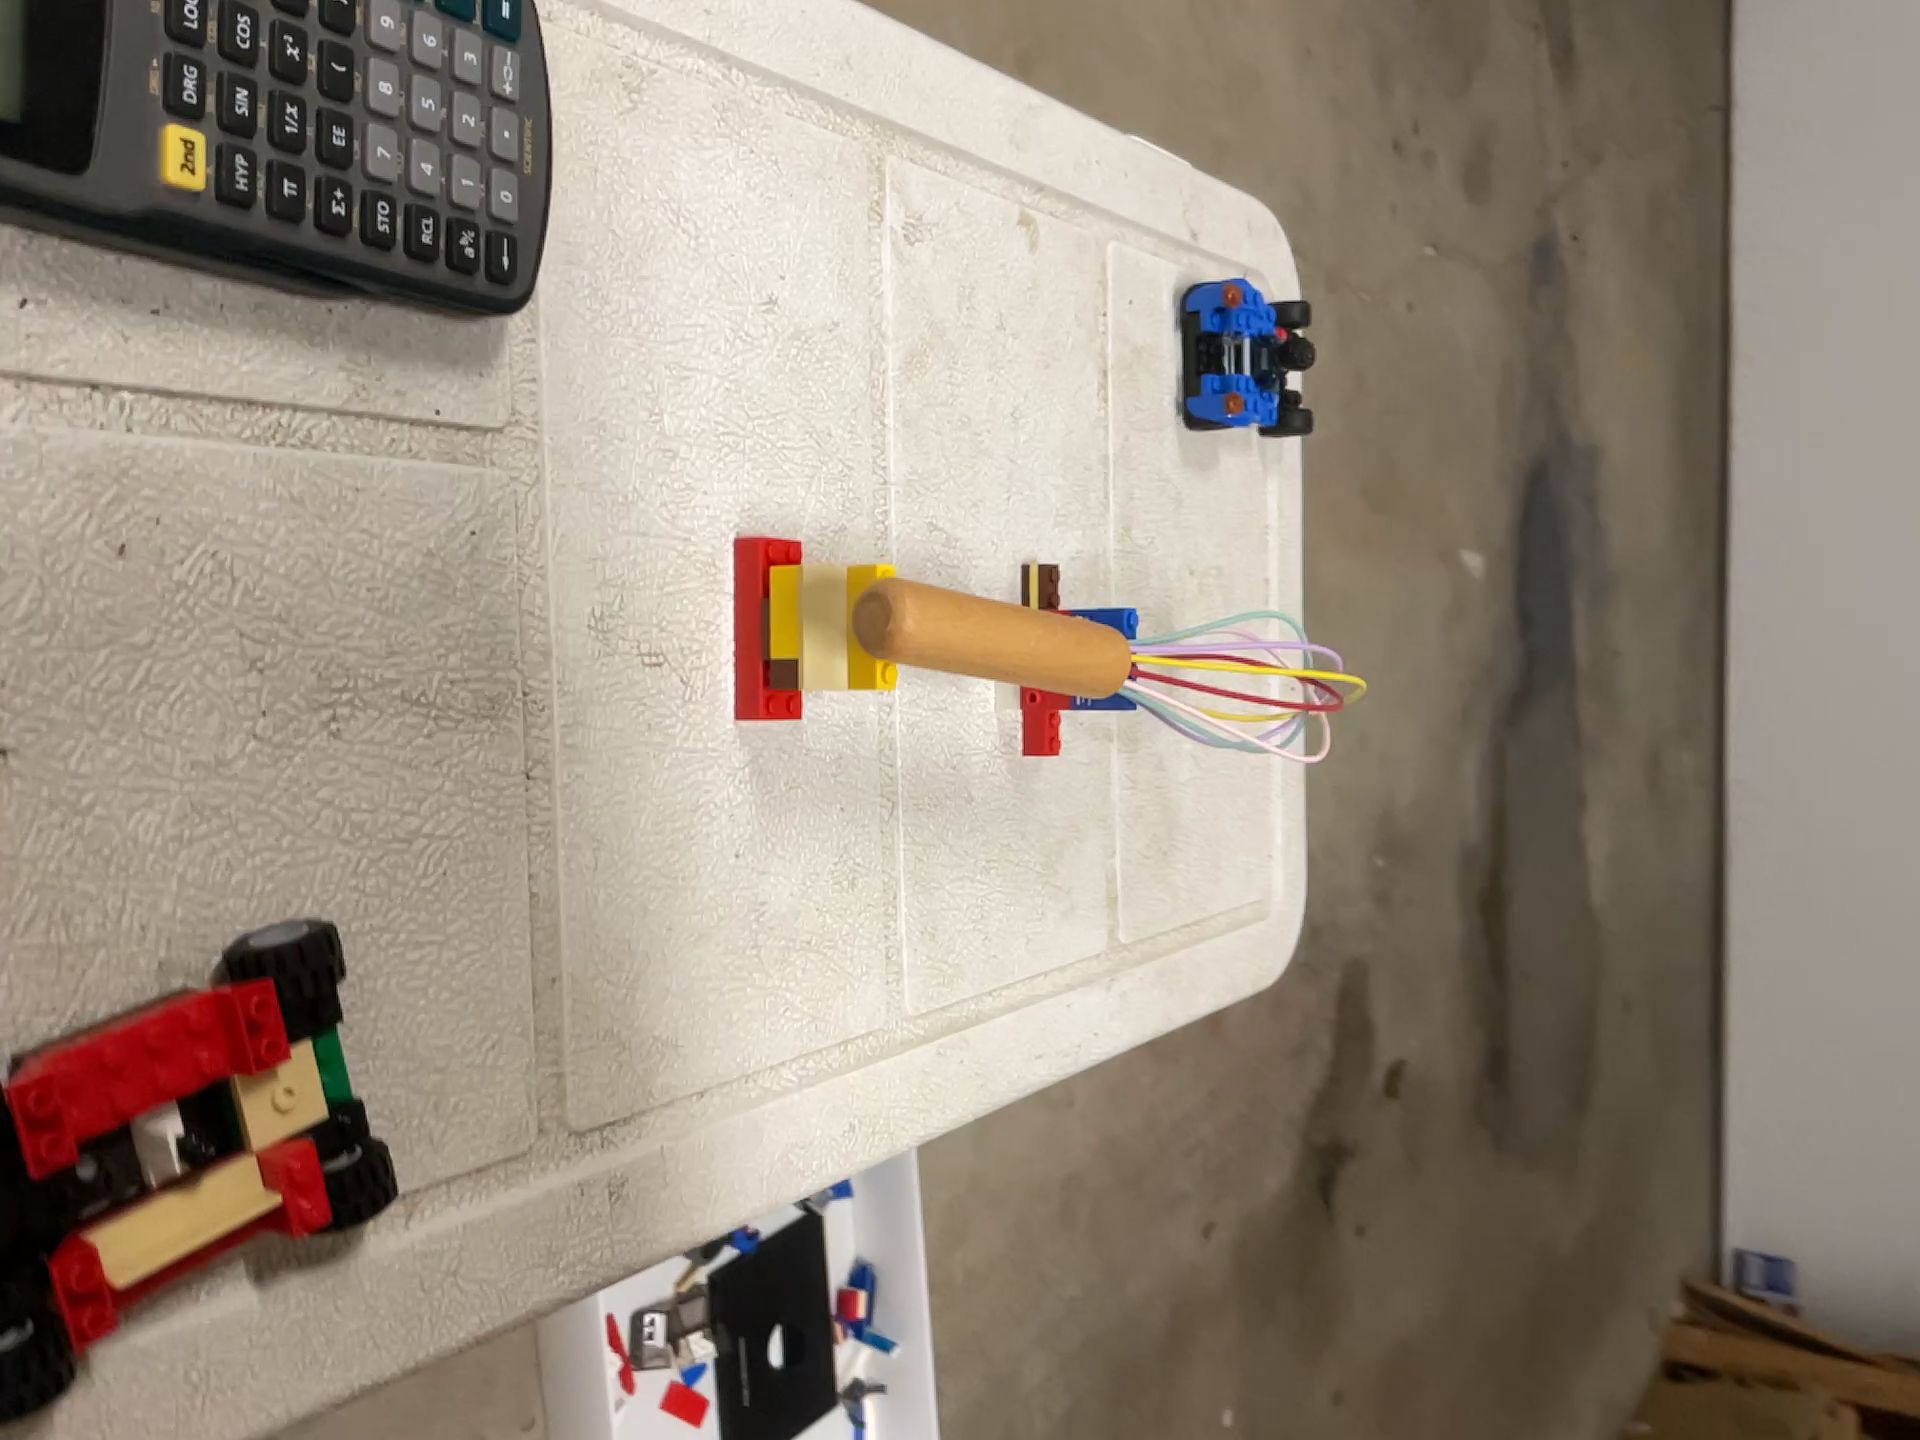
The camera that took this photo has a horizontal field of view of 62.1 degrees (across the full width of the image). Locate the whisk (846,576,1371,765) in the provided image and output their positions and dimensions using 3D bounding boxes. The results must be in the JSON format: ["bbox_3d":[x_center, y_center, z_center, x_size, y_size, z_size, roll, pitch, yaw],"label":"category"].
[{"bbox_3d":[0.057,-0.017,0.473,0.245,0.047,0.051,8,97,-51],"label":"whisk"}]
